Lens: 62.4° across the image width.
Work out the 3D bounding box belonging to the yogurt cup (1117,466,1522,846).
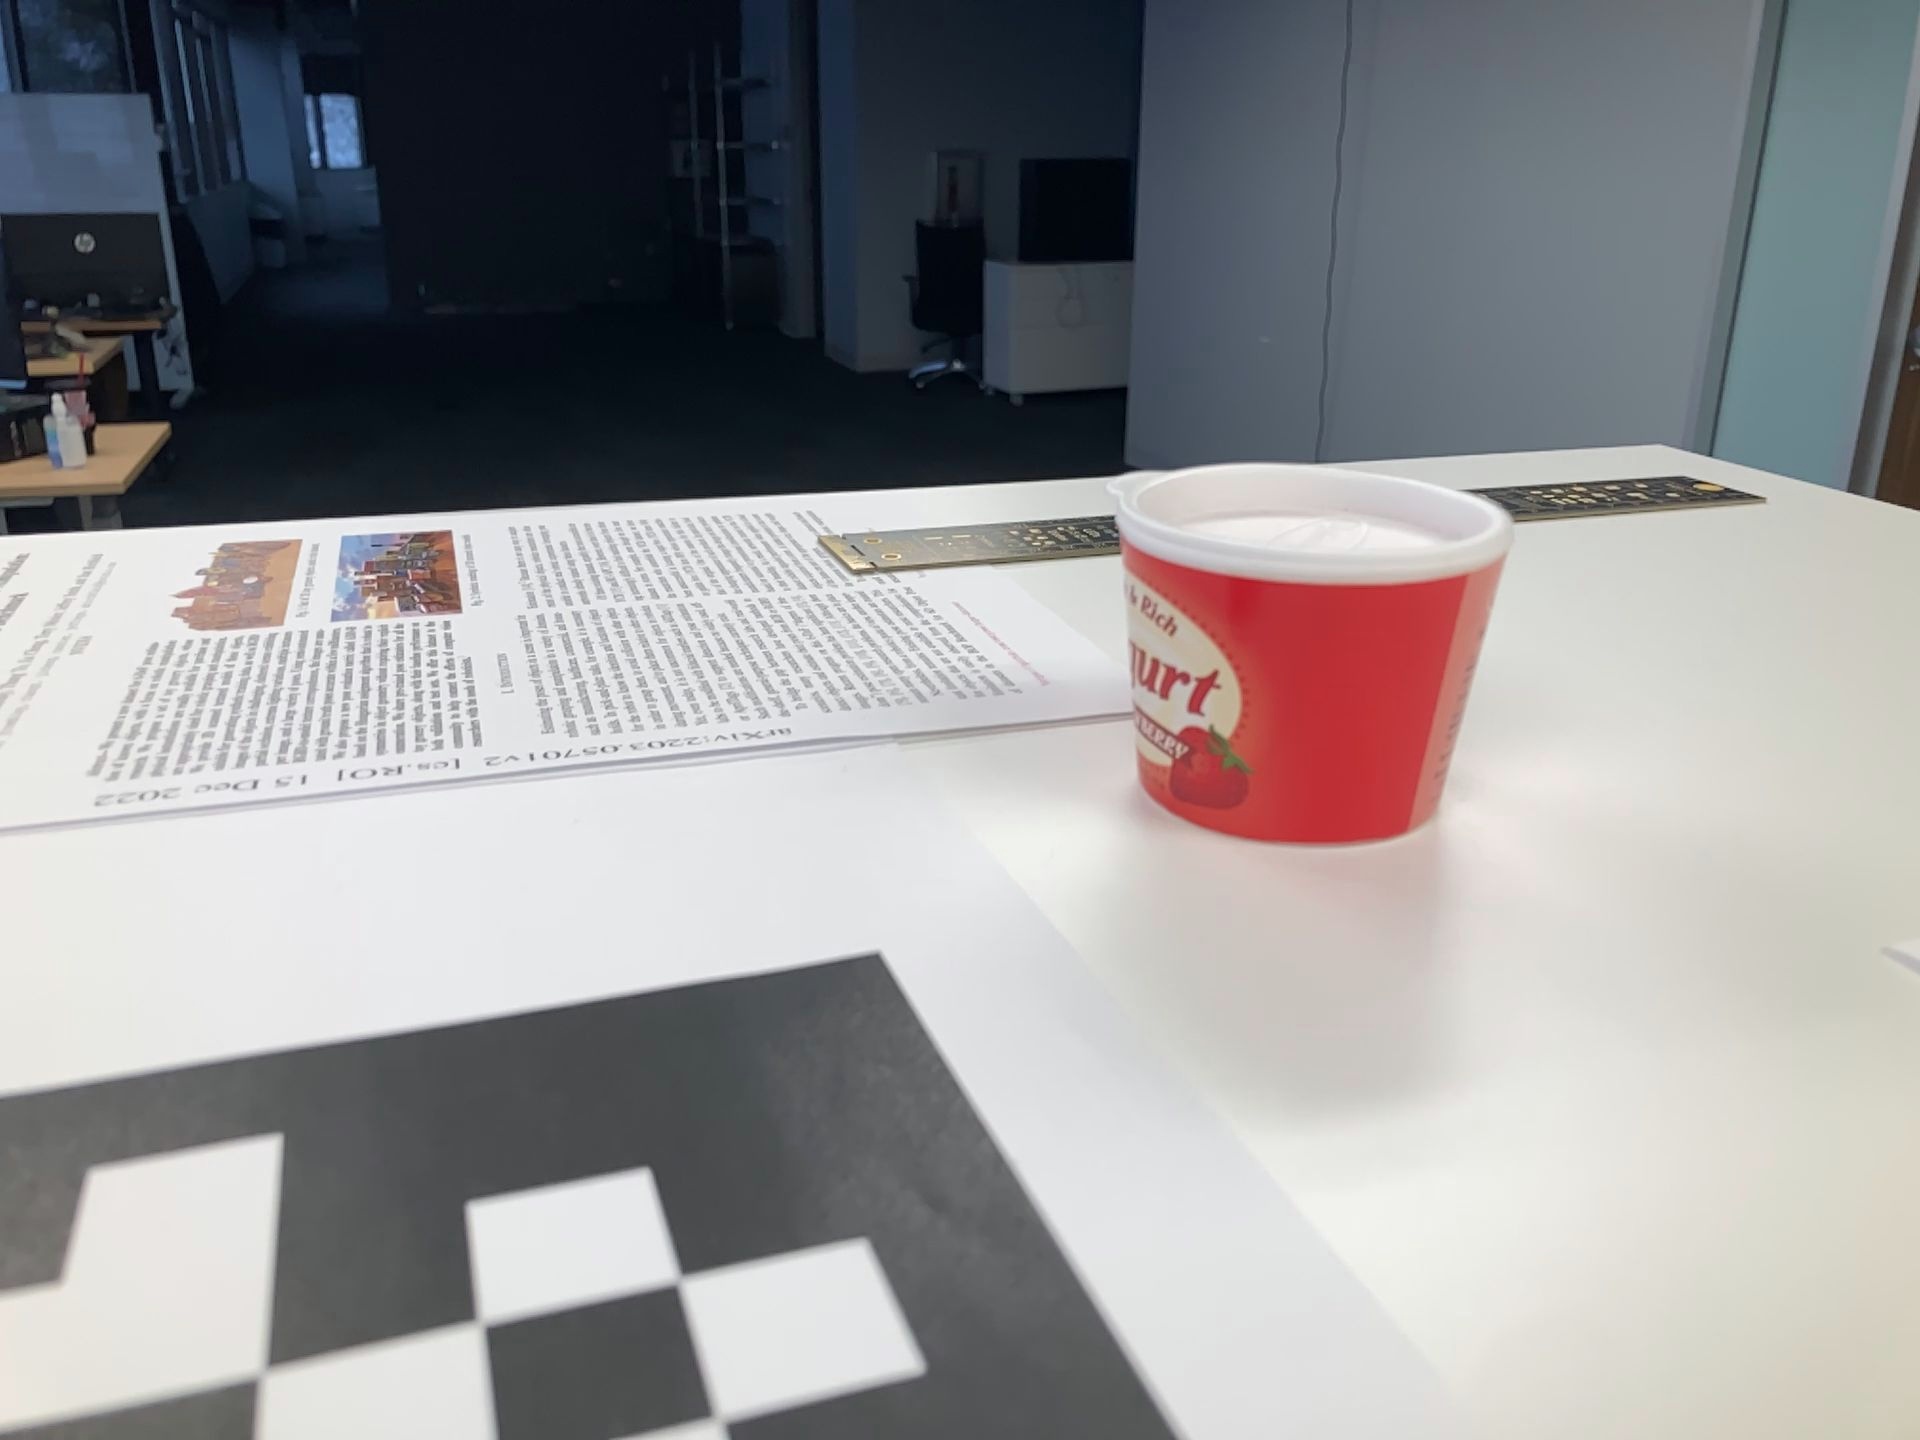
[{"bbox_3d":[0.061,-0.013,0.282,0.072,0.054,0.072,2,21,-1],"label":"yogurt cup"}]
